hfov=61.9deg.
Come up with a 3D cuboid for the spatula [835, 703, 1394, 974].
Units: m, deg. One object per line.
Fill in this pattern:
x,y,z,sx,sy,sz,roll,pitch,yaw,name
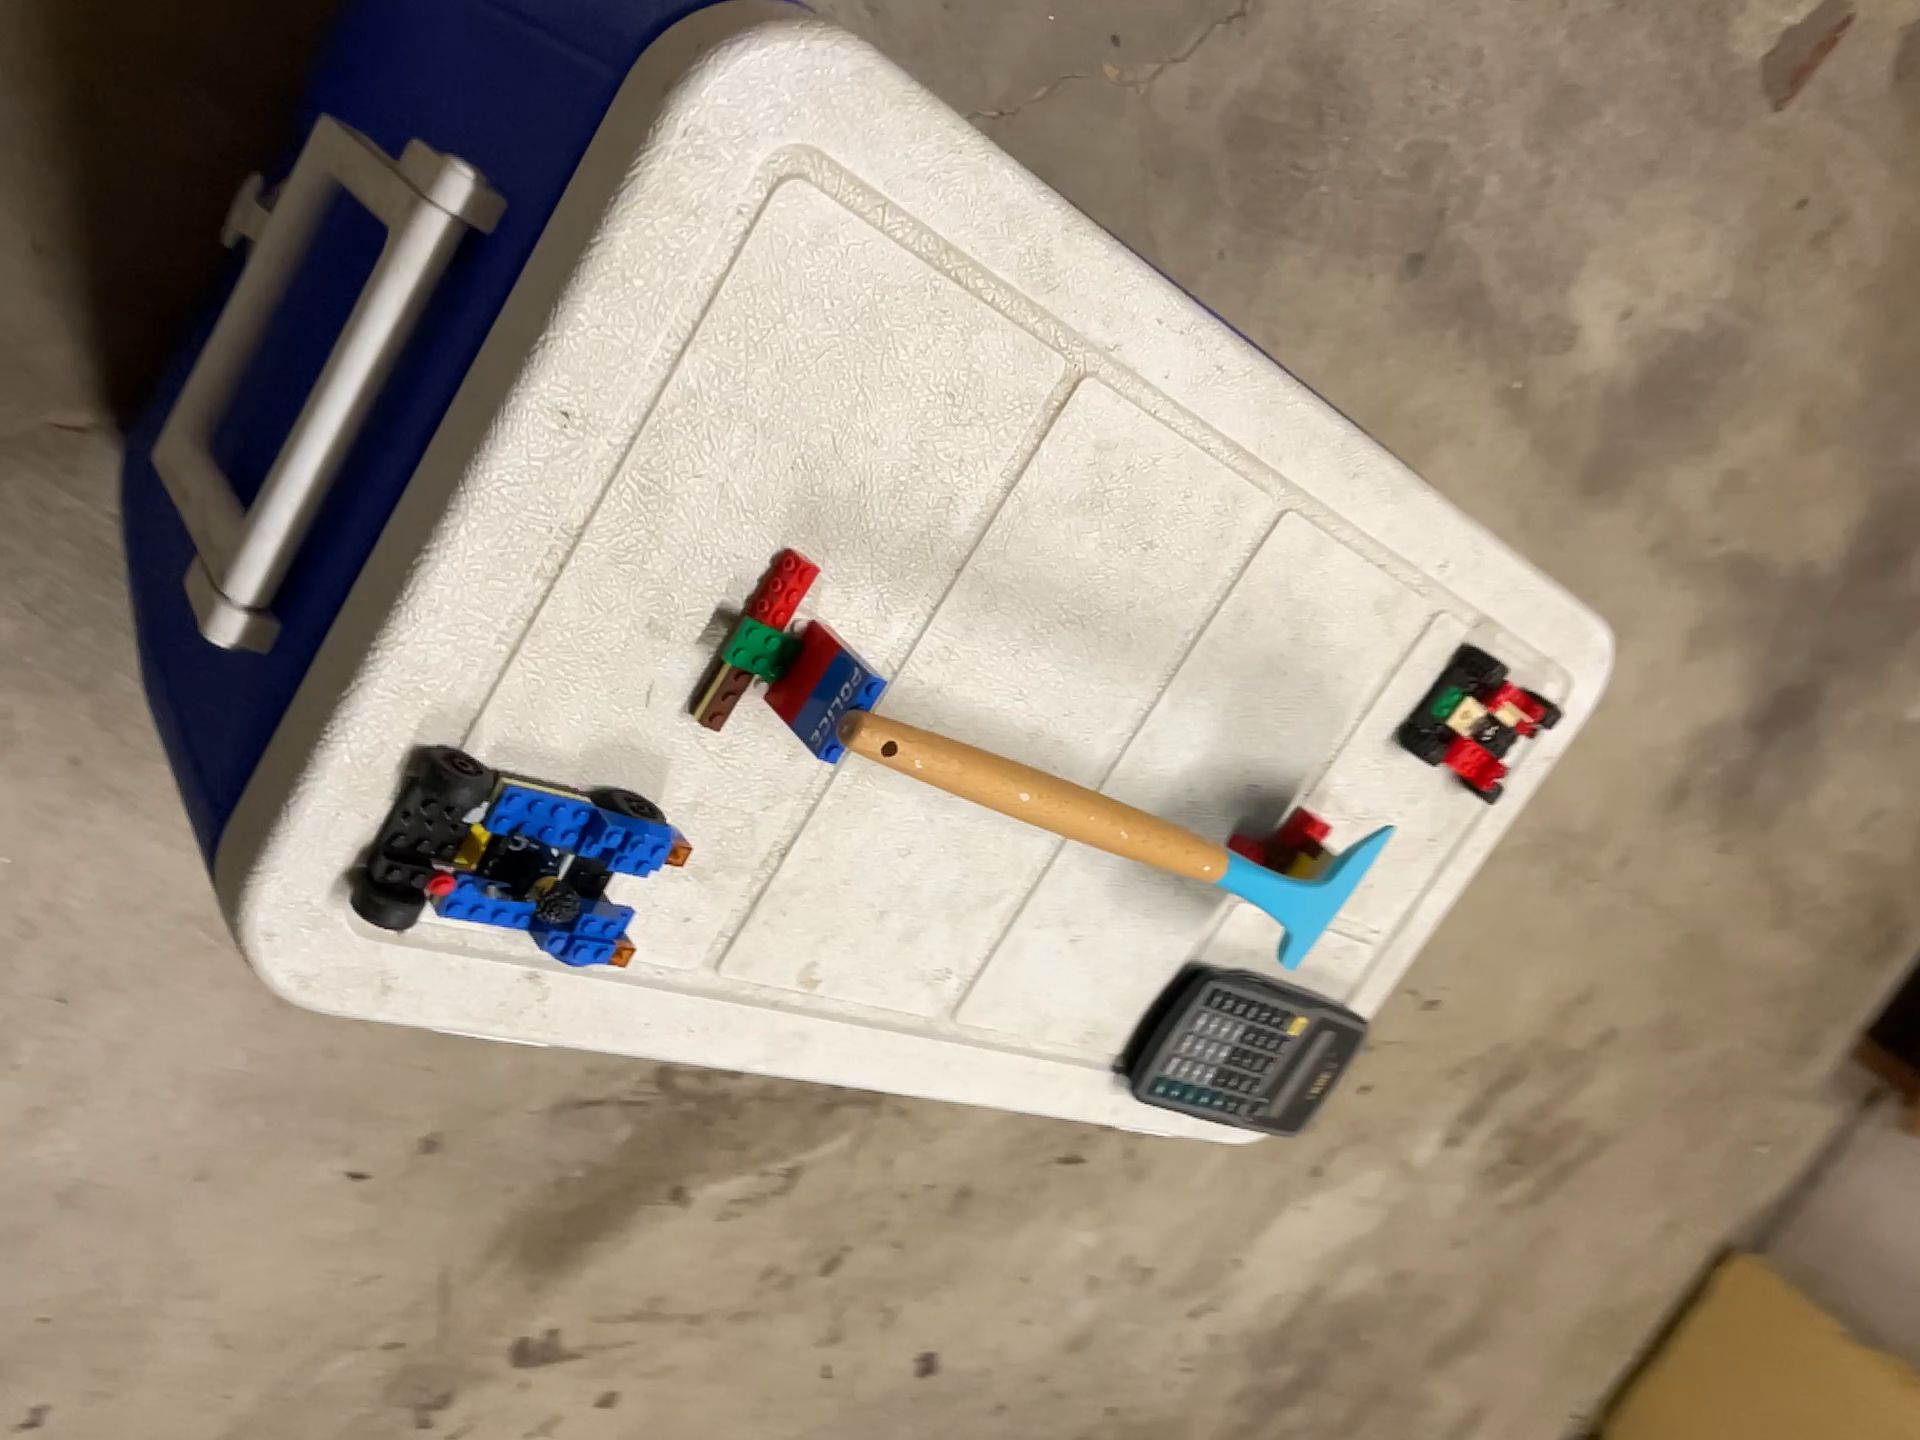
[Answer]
0.071,0.042,0.597,0.318,0.044,0.082,23,105,-41,spatula
